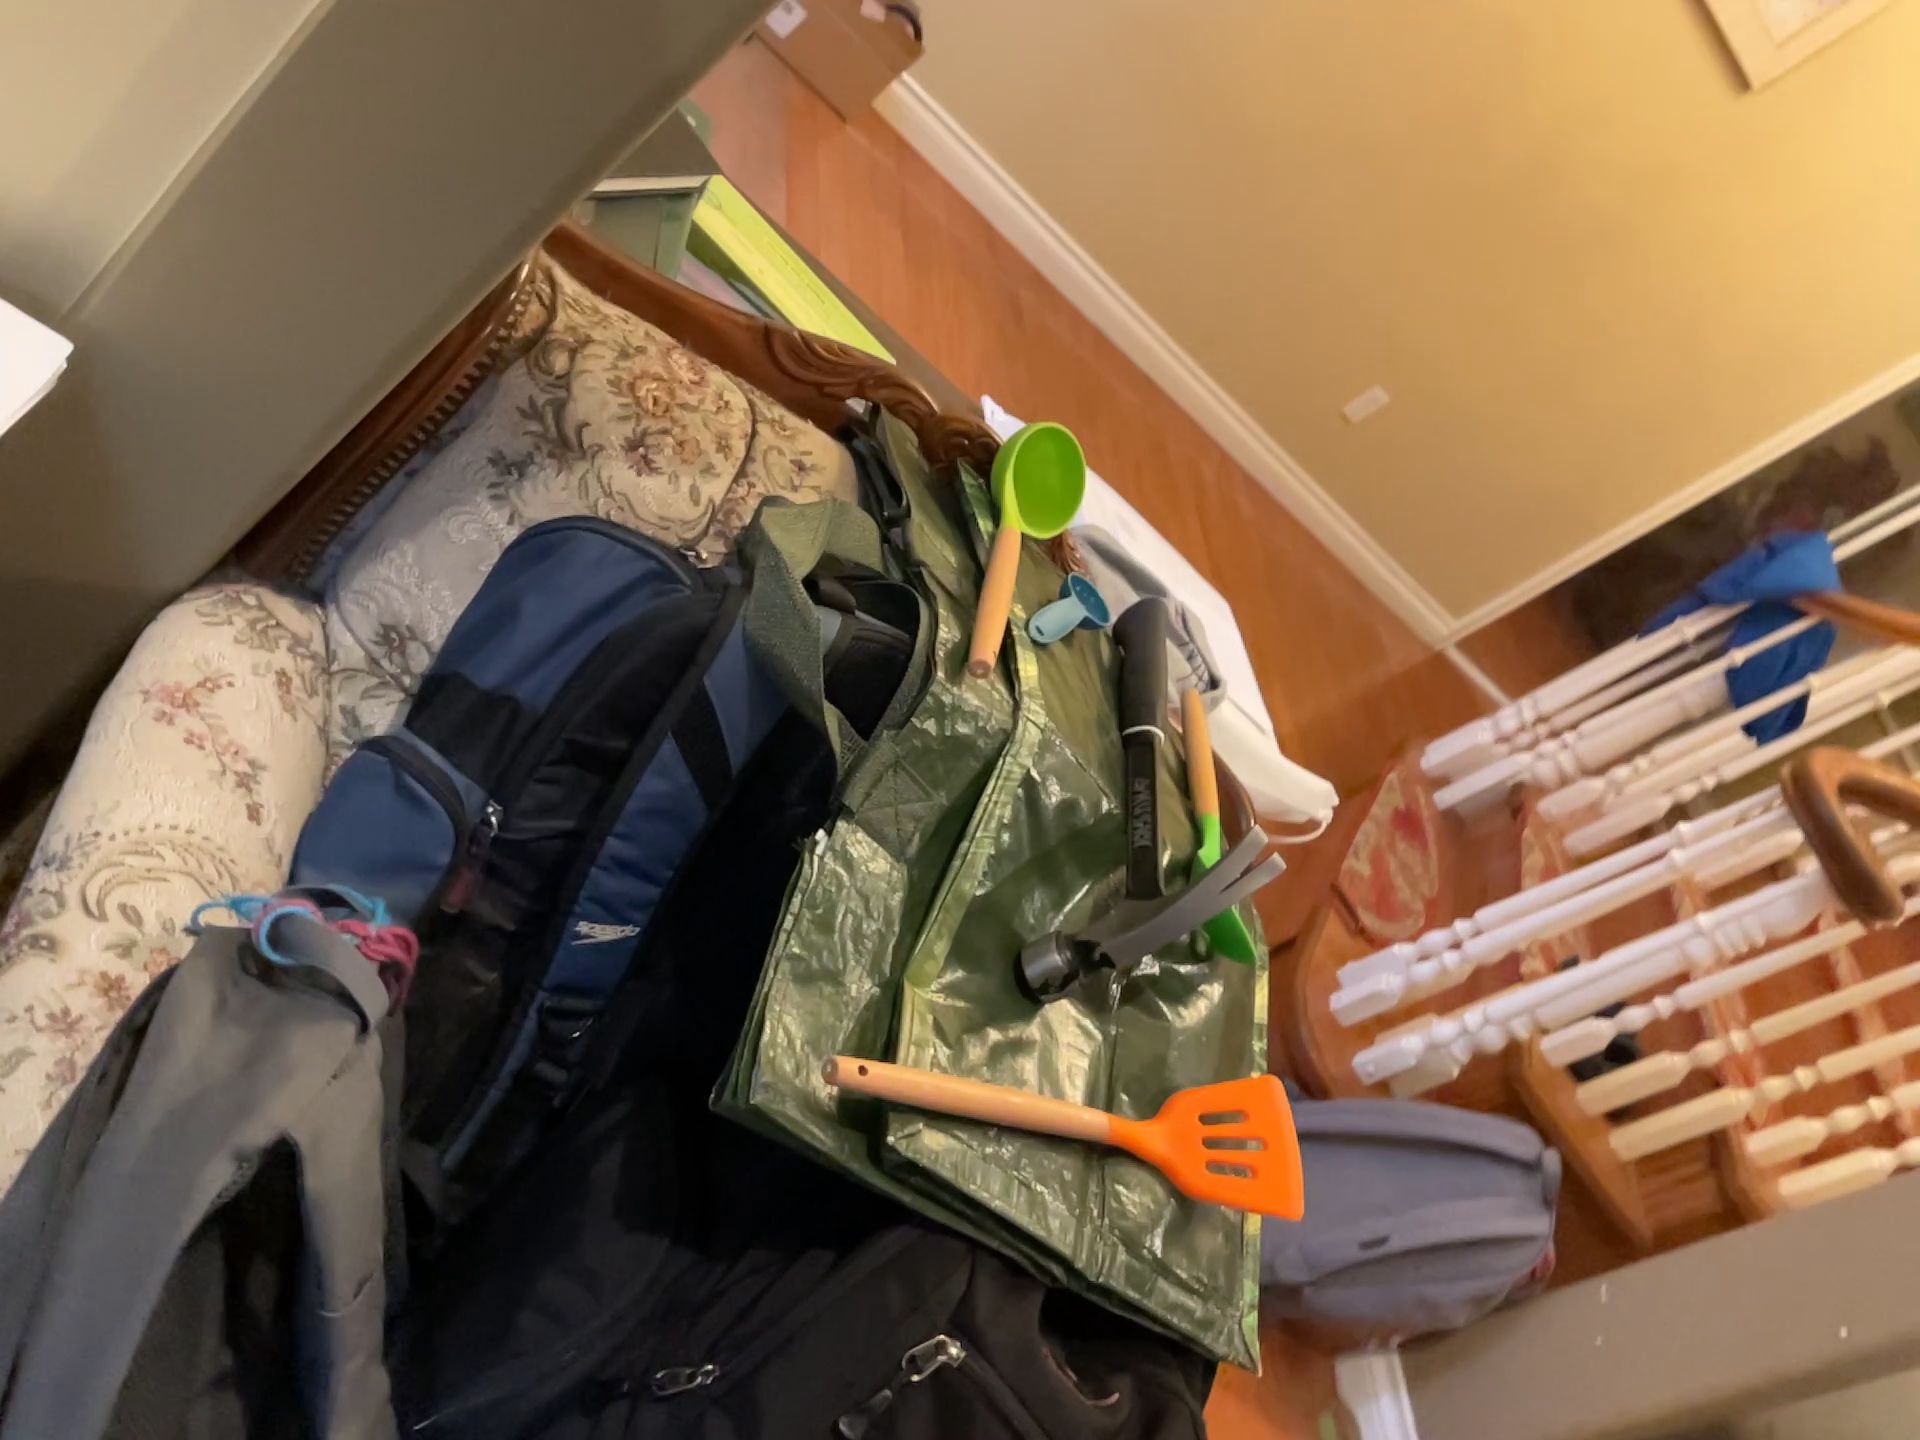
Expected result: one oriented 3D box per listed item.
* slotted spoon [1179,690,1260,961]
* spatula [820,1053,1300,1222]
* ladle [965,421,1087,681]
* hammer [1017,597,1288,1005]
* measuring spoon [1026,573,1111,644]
[{"bbox_3d":[0.163,0.057,1.056,0.070,0.031,0.314,61,16,-24],"label":"slotted spoon"},{"bbox_3d":[0.061,0.199,0.799,0.322,0.041,0.081,24,51,-40],"label":"spatula"},{"bbox_3d":[0.038,-0.102,0.956,0.320,0.062,0.078,-77,153,-61],"label":"ladle"},{"bbox_3d":[0.119,0.018,0.999,0.036,0.149,0.409,55,21,-21],"label":"hammer"},{"bbox_3d":[0.060,-0.062,0.991,0.042,0.021,0.128,55,28,1],"label":"measuring spoon"}]
